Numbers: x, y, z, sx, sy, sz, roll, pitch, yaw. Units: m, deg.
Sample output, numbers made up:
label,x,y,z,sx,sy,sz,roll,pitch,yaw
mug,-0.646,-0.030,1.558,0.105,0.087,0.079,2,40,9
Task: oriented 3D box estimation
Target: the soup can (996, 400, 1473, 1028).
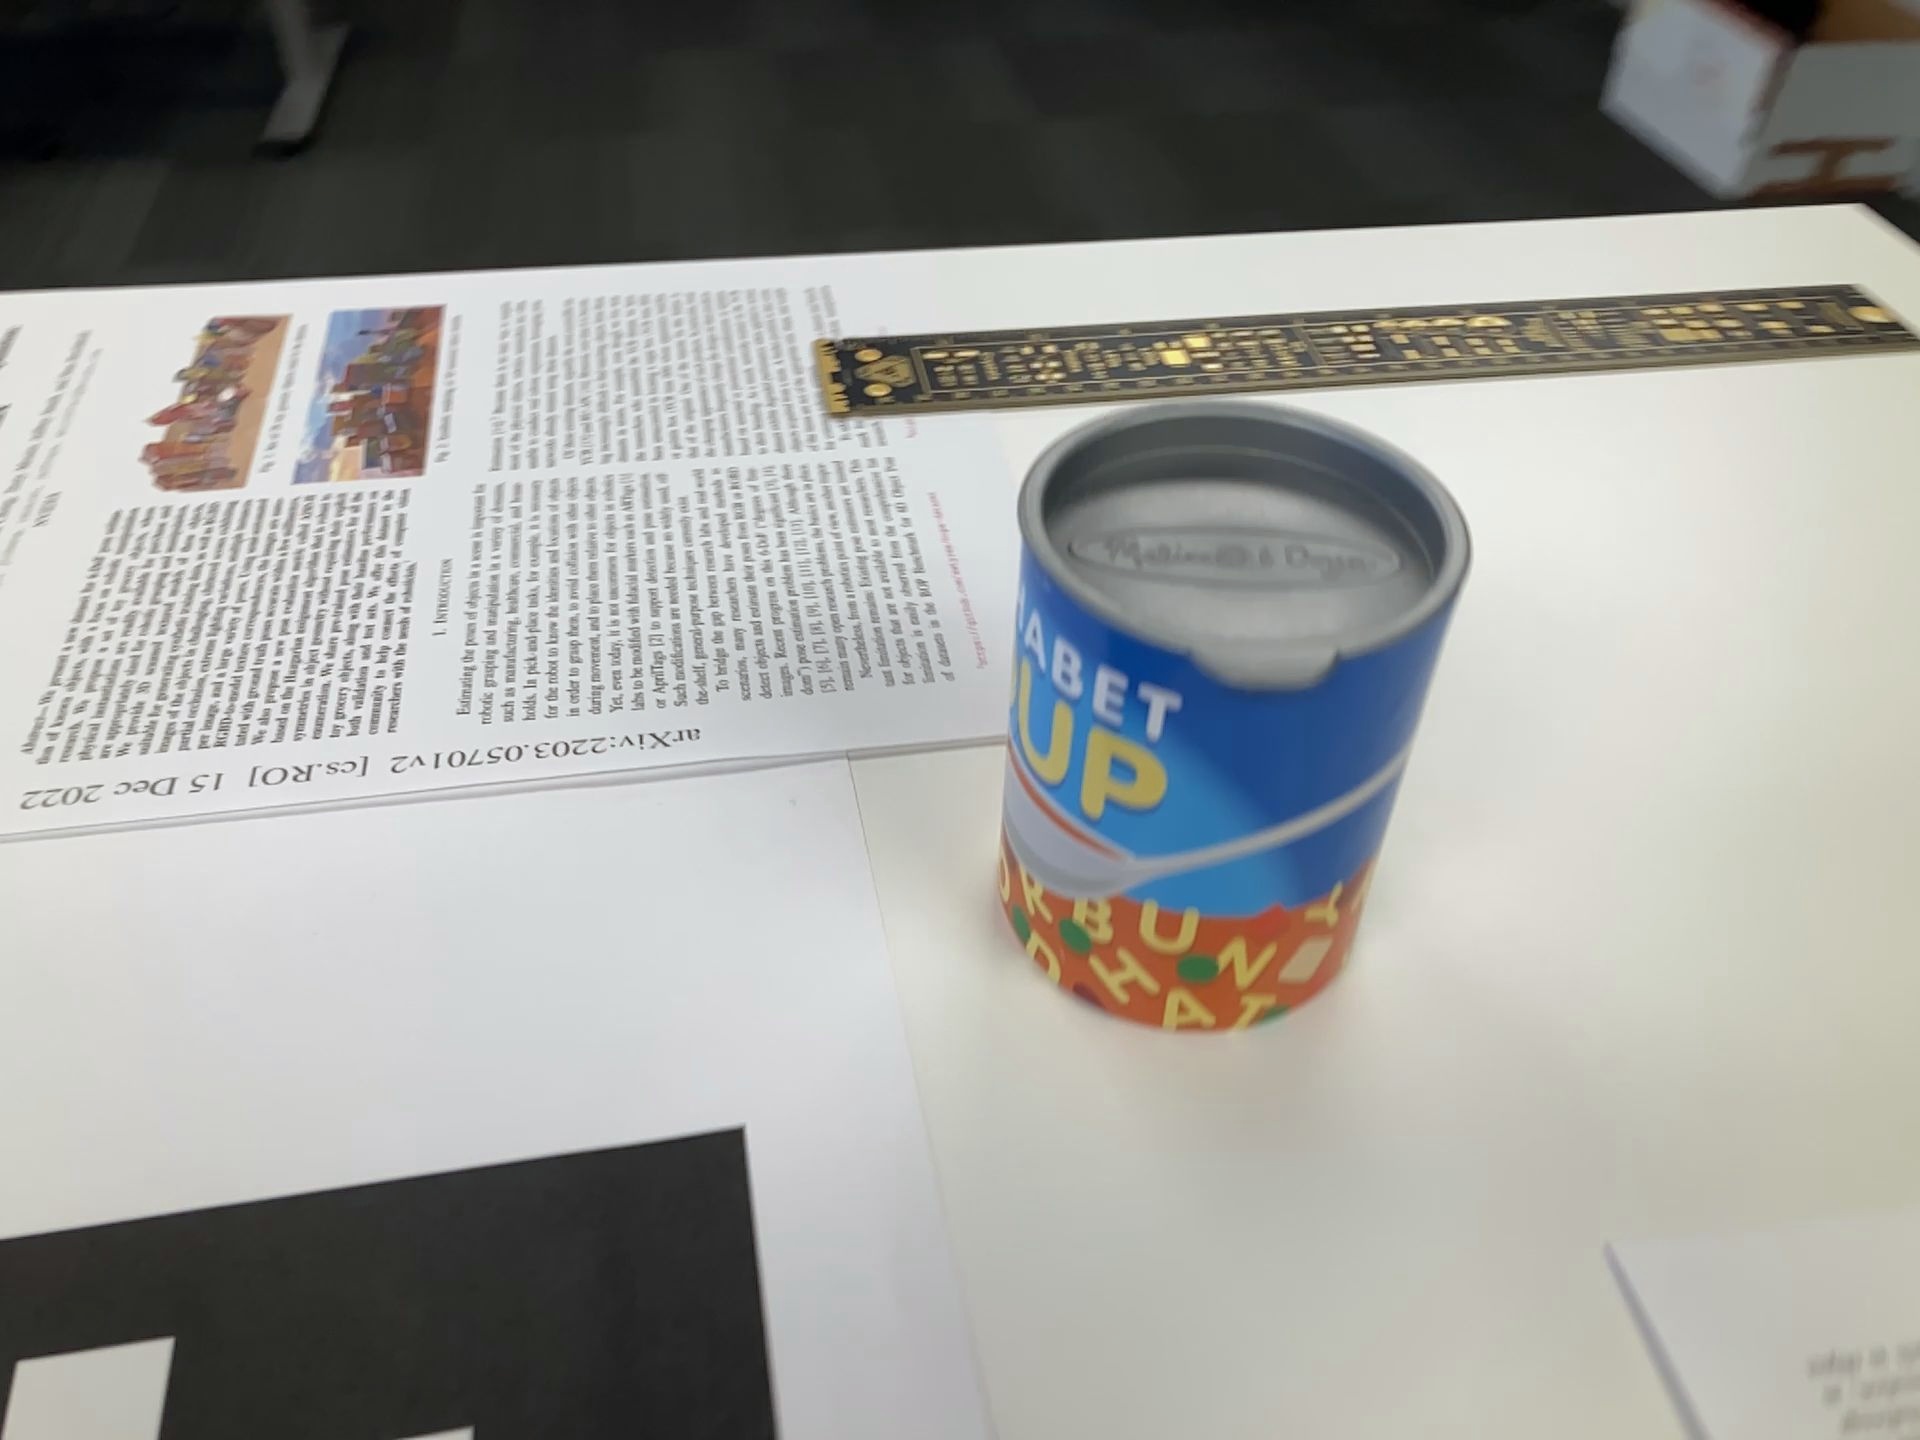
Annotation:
label,x,y,z,sx,sy,sz,roll,pitch,yaw
soup can,0.038,0.000,0.263,0.071,0.084,0.071,2,41,-1
